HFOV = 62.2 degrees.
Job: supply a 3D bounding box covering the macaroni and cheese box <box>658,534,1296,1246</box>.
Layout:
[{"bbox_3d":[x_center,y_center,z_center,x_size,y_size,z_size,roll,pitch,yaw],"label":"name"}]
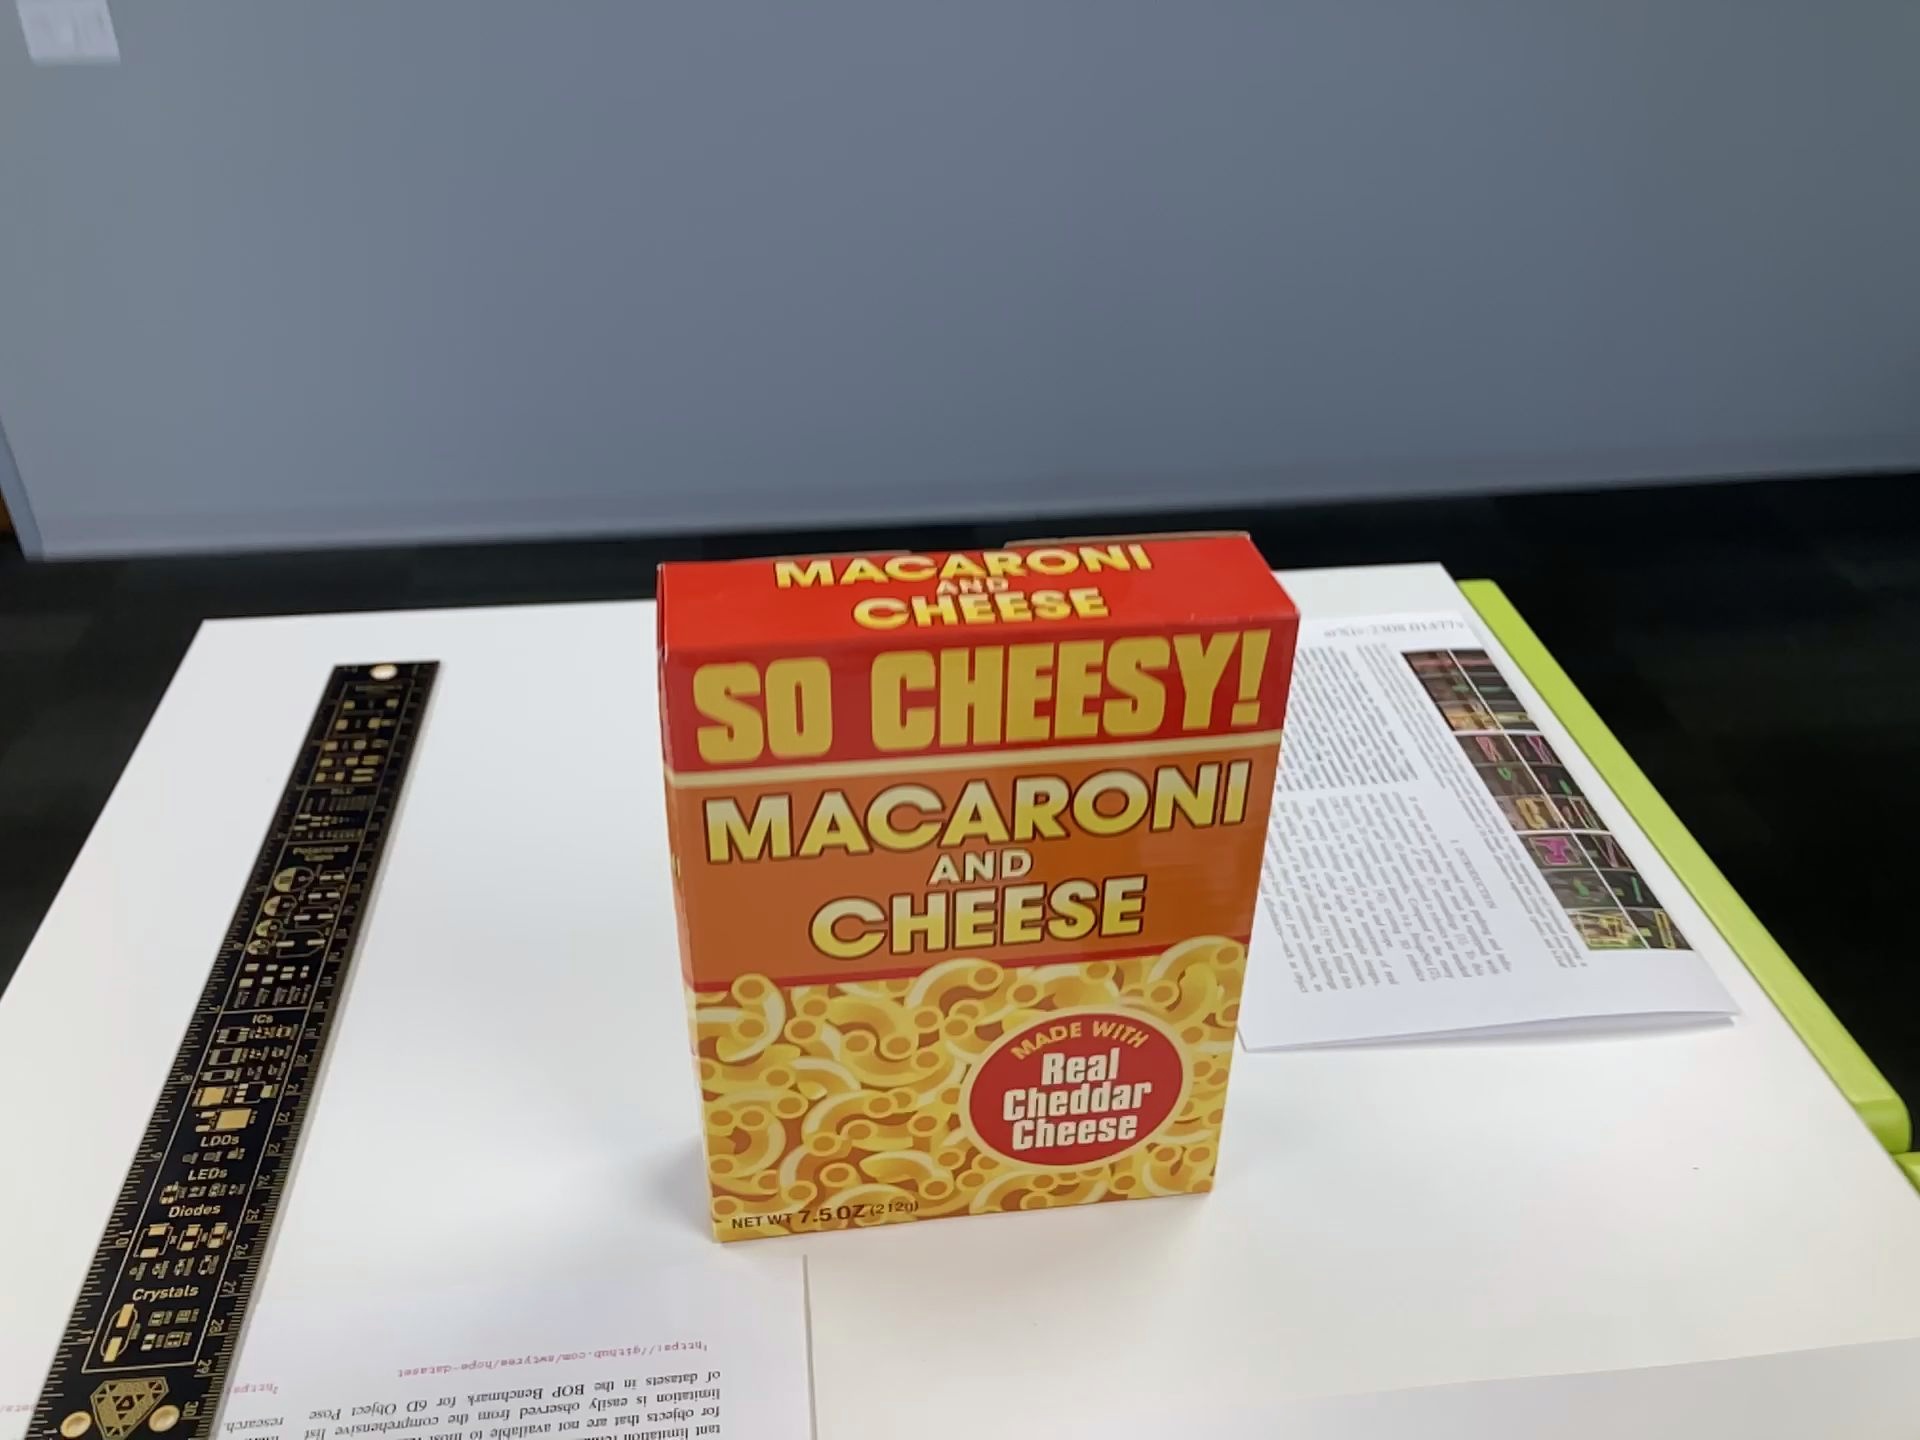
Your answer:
[{"bbox_3d":[0.001,0.042,0.356,0.124,0.166,0.040,-5,34,-8],"label":"macaroni and cheese box"}]
